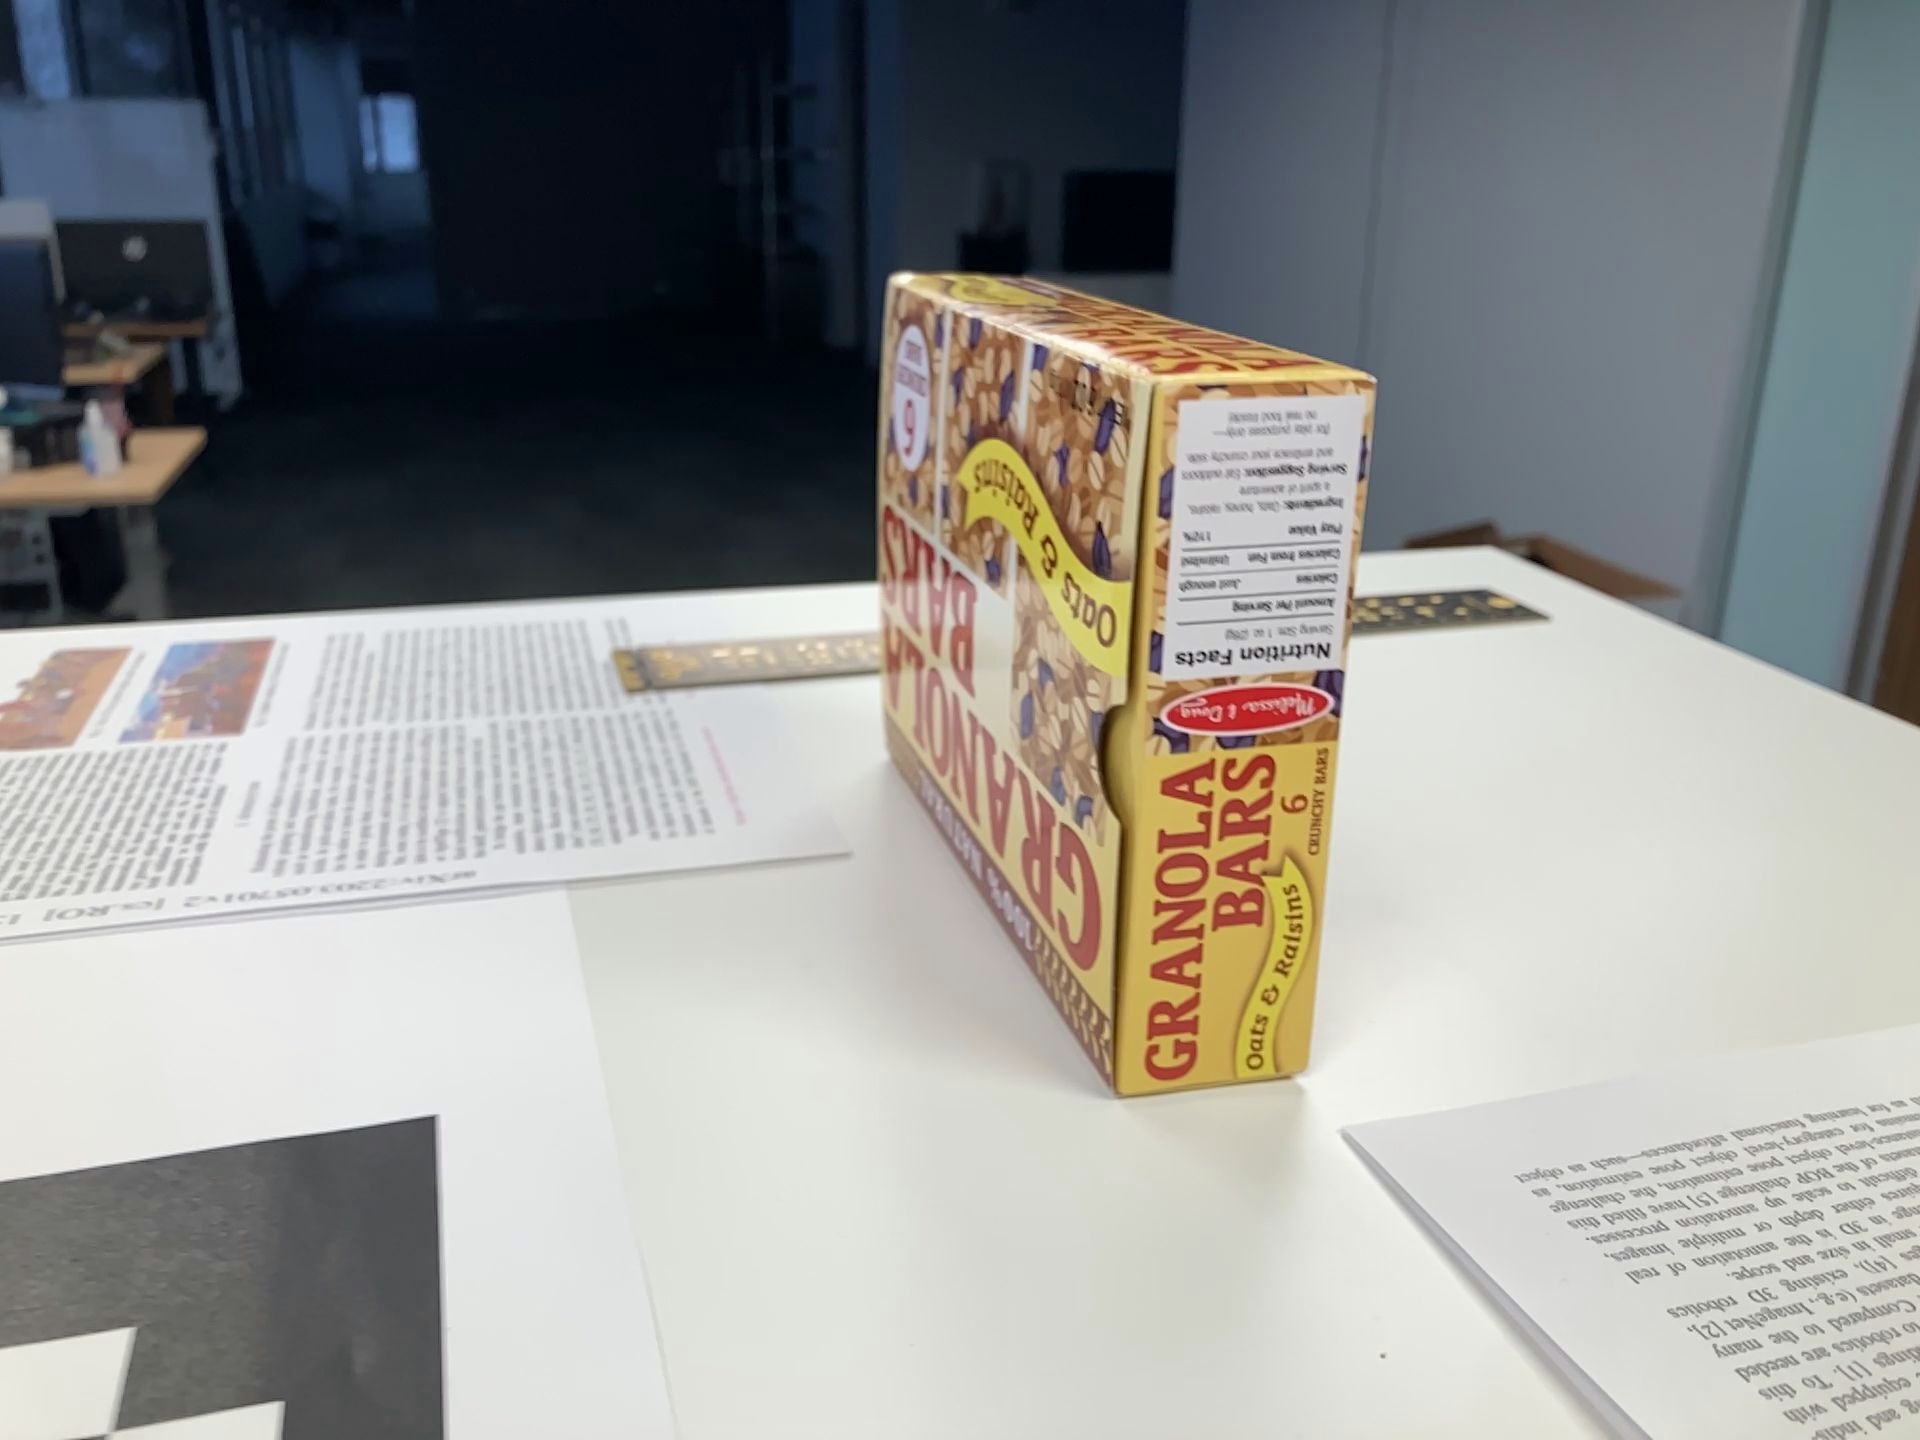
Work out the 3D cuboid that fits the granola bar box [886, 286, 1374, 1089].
[{"bbox_3d":[0.022,-0.021,0.334,0.039,0.124,0.165,-5,20,-16],"label":"granola bar box"}]
